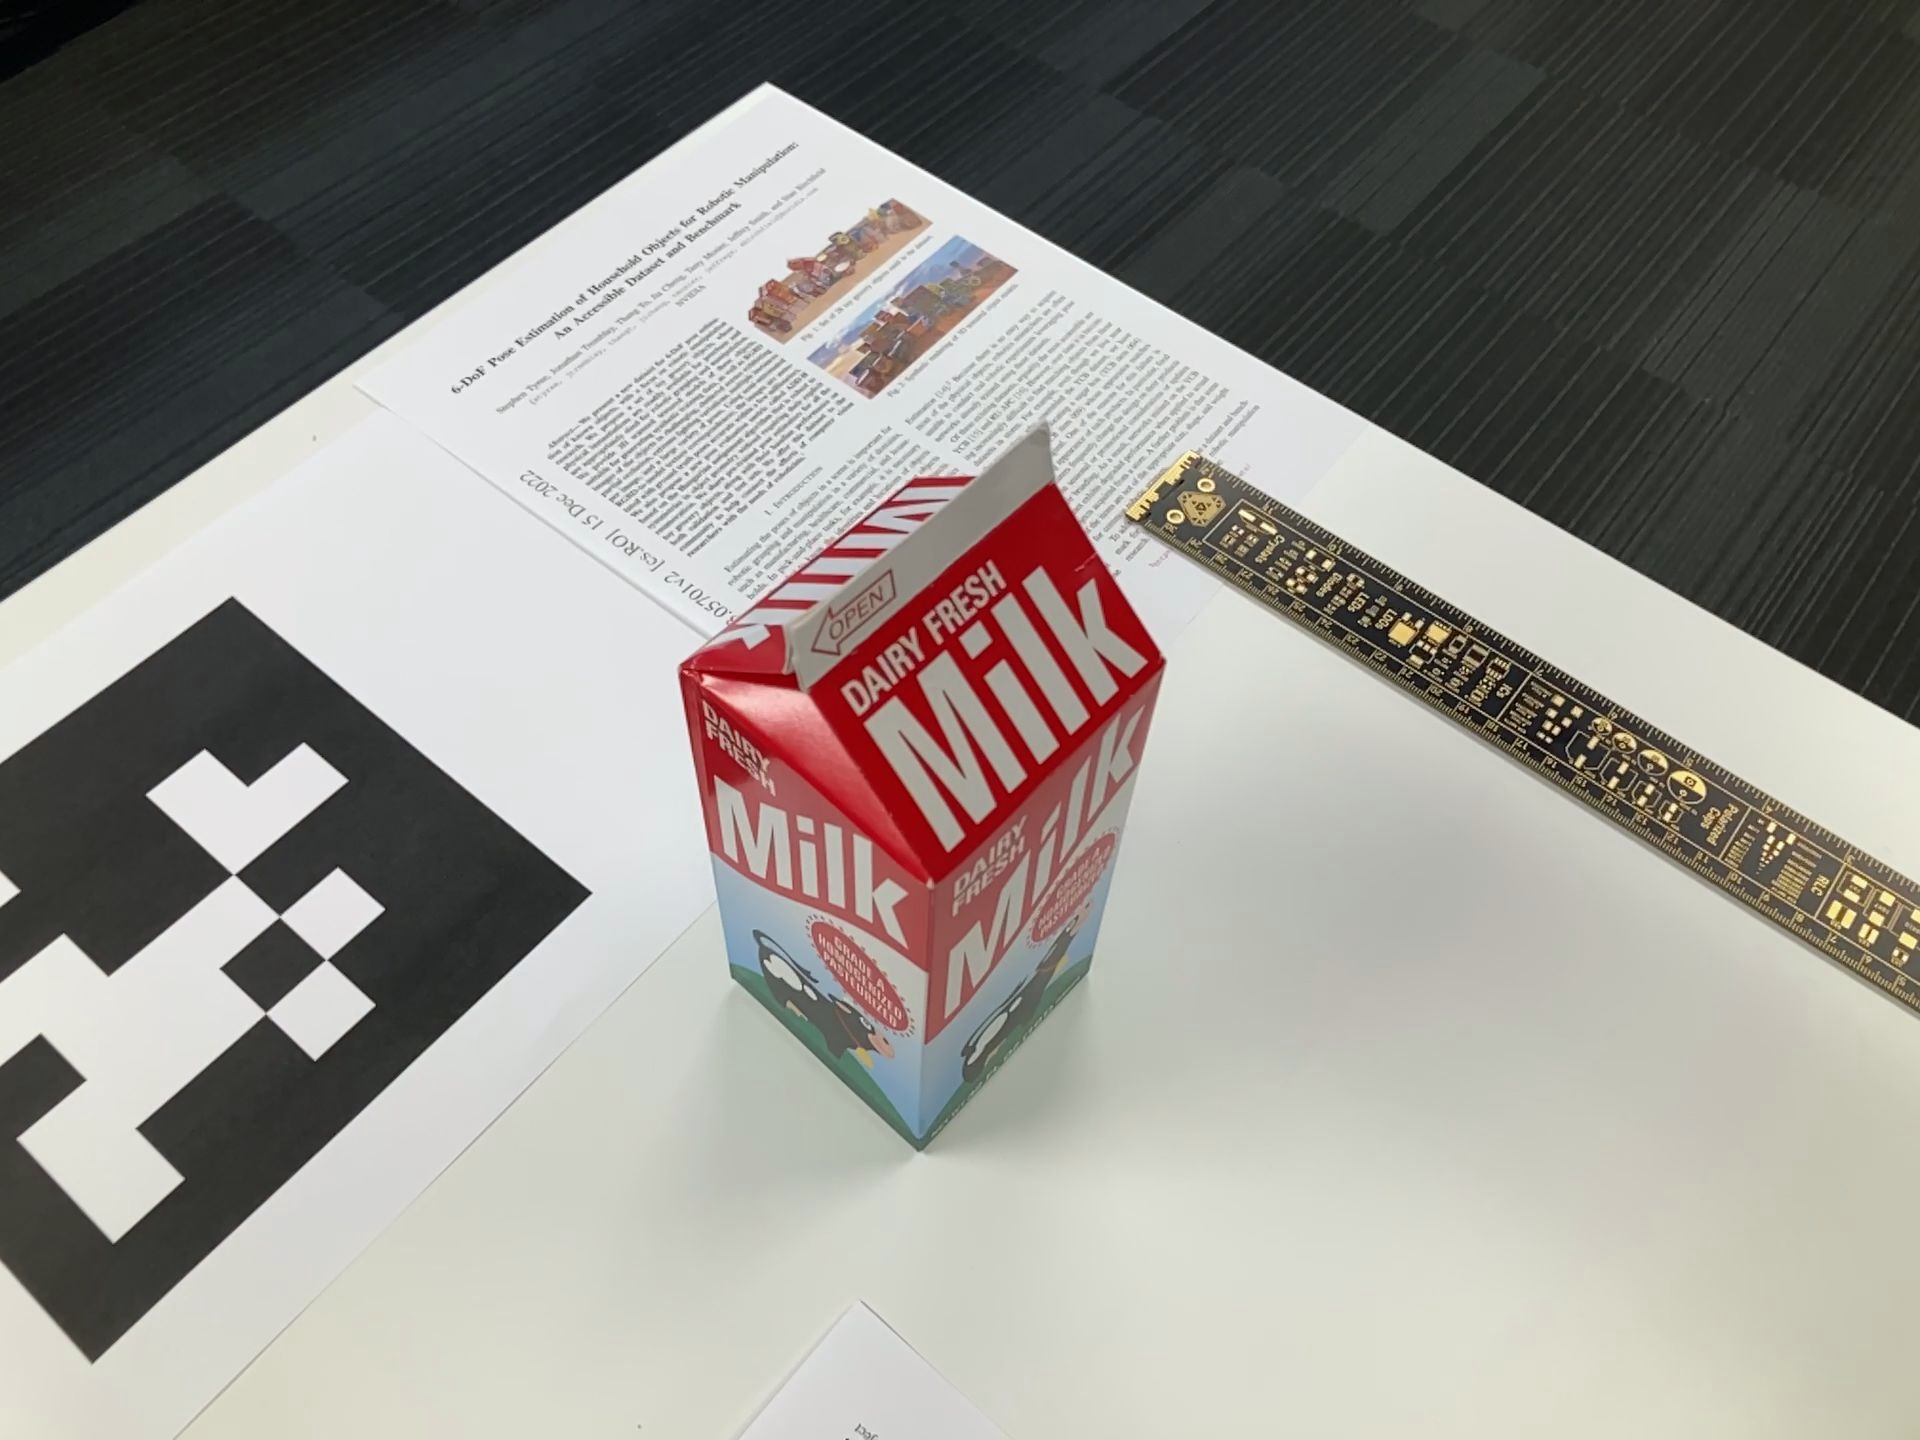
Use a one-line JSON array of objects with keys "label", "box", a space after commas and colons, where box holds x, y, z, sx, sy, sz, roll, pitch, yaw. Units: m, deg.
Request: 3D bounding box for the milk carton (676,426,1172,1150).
[{"label": "milk carton", "box": [-0.009, 0.018, 0.357, 0.073, 0.190, 0.072, 38, 62, 20]}]
